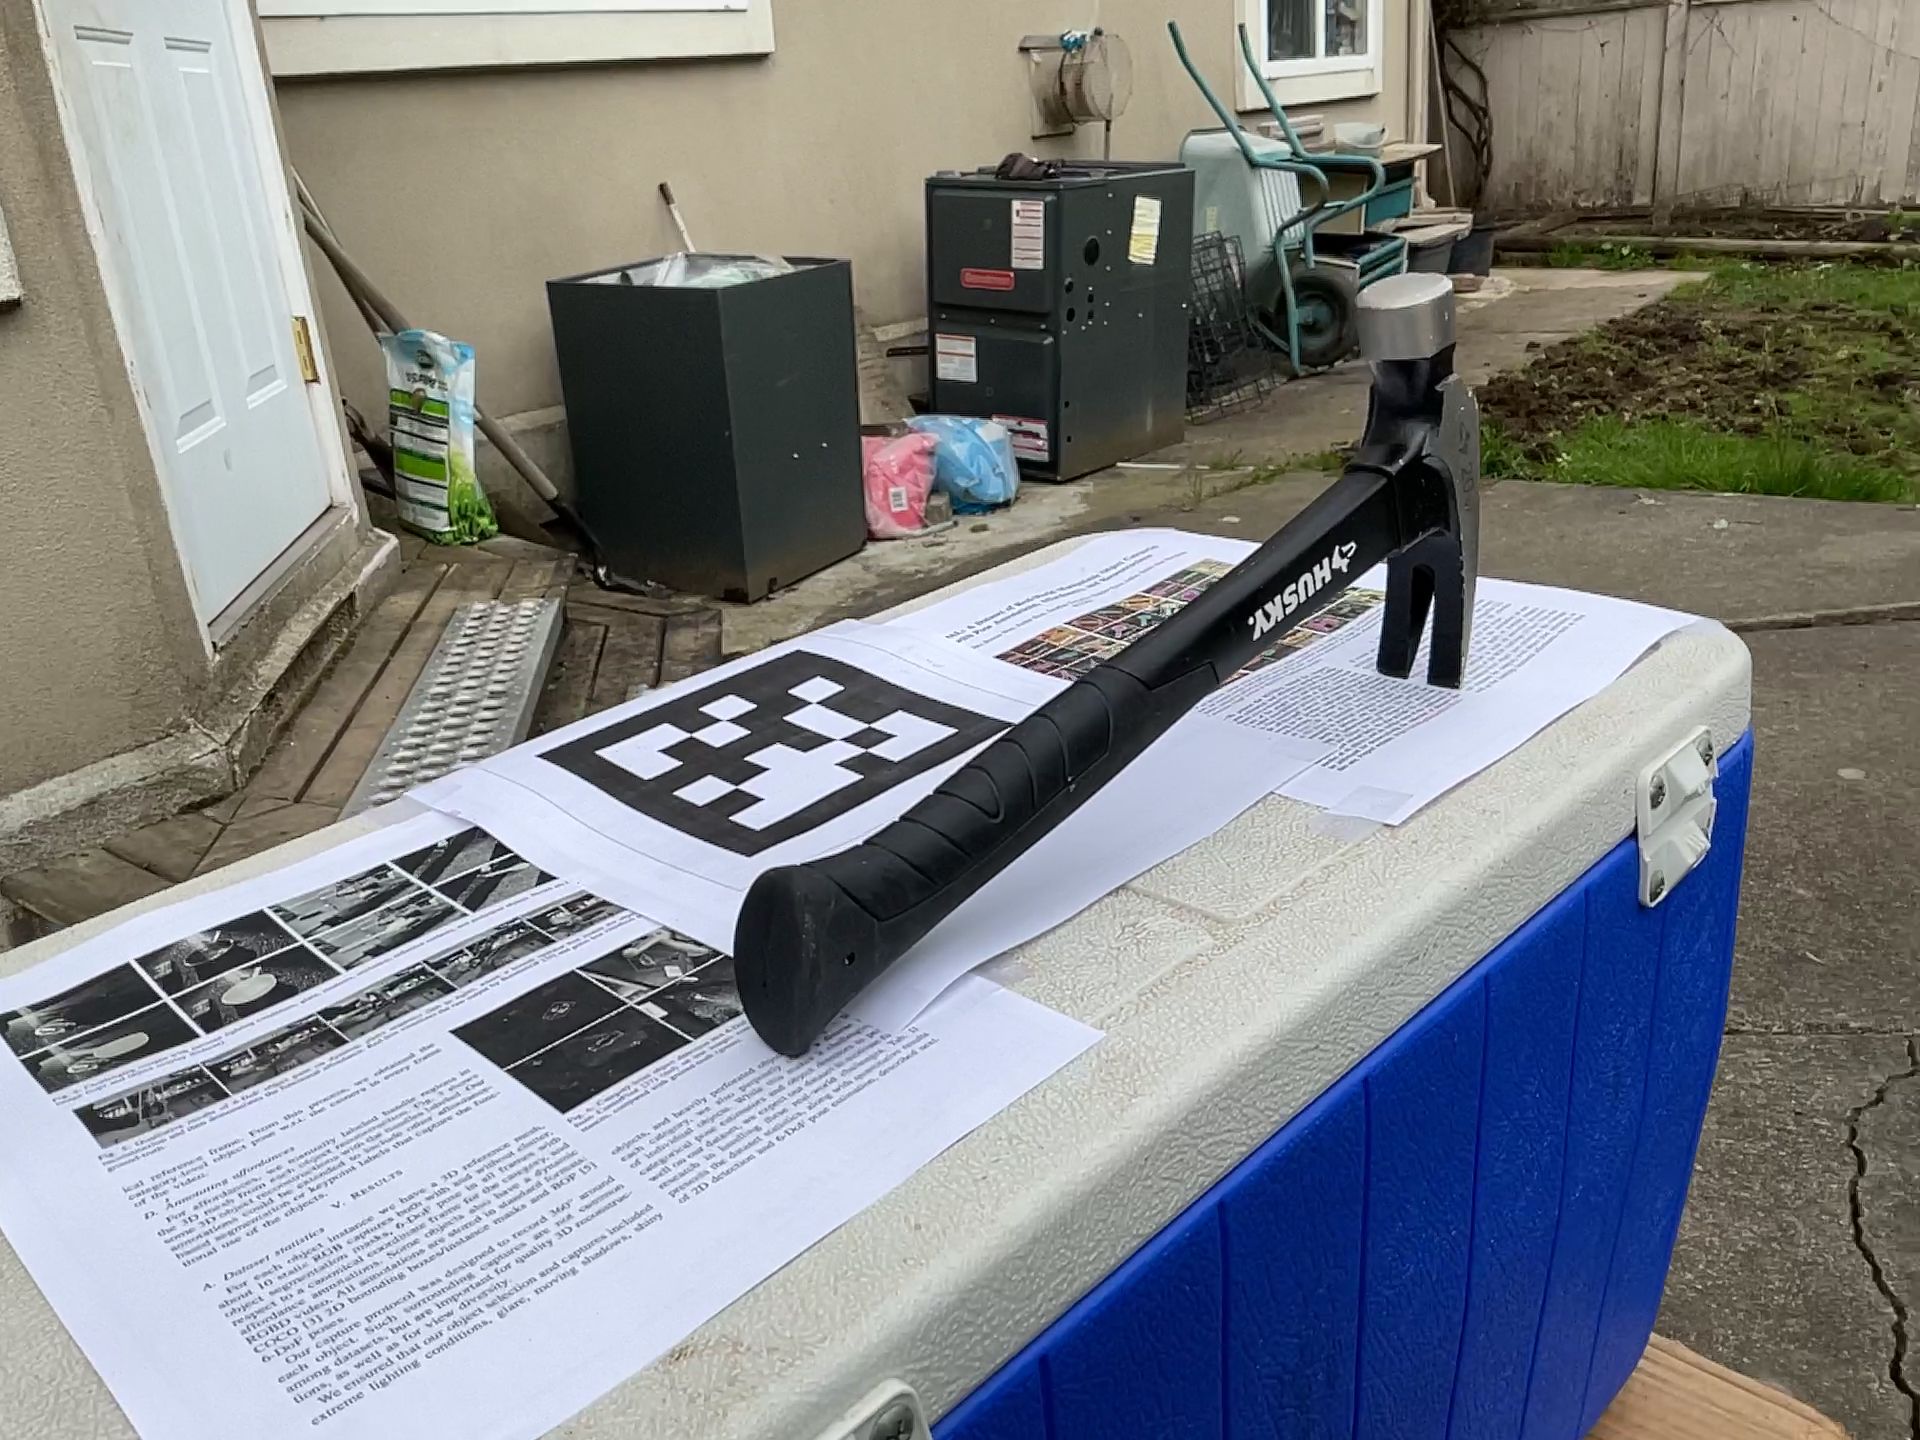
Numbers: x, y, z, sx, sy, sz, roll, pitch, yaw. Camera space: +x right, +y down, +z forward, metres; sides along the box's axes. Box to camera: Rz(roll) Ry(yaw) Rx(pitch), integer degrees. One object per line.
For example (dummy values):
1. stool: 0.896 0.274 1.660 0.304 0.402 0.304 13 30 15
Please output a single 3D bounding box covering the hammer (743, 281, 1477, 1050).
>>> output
1. hammer: 0.065 -0.009 0.500 0.035 0.146 0.334 16 42 44
